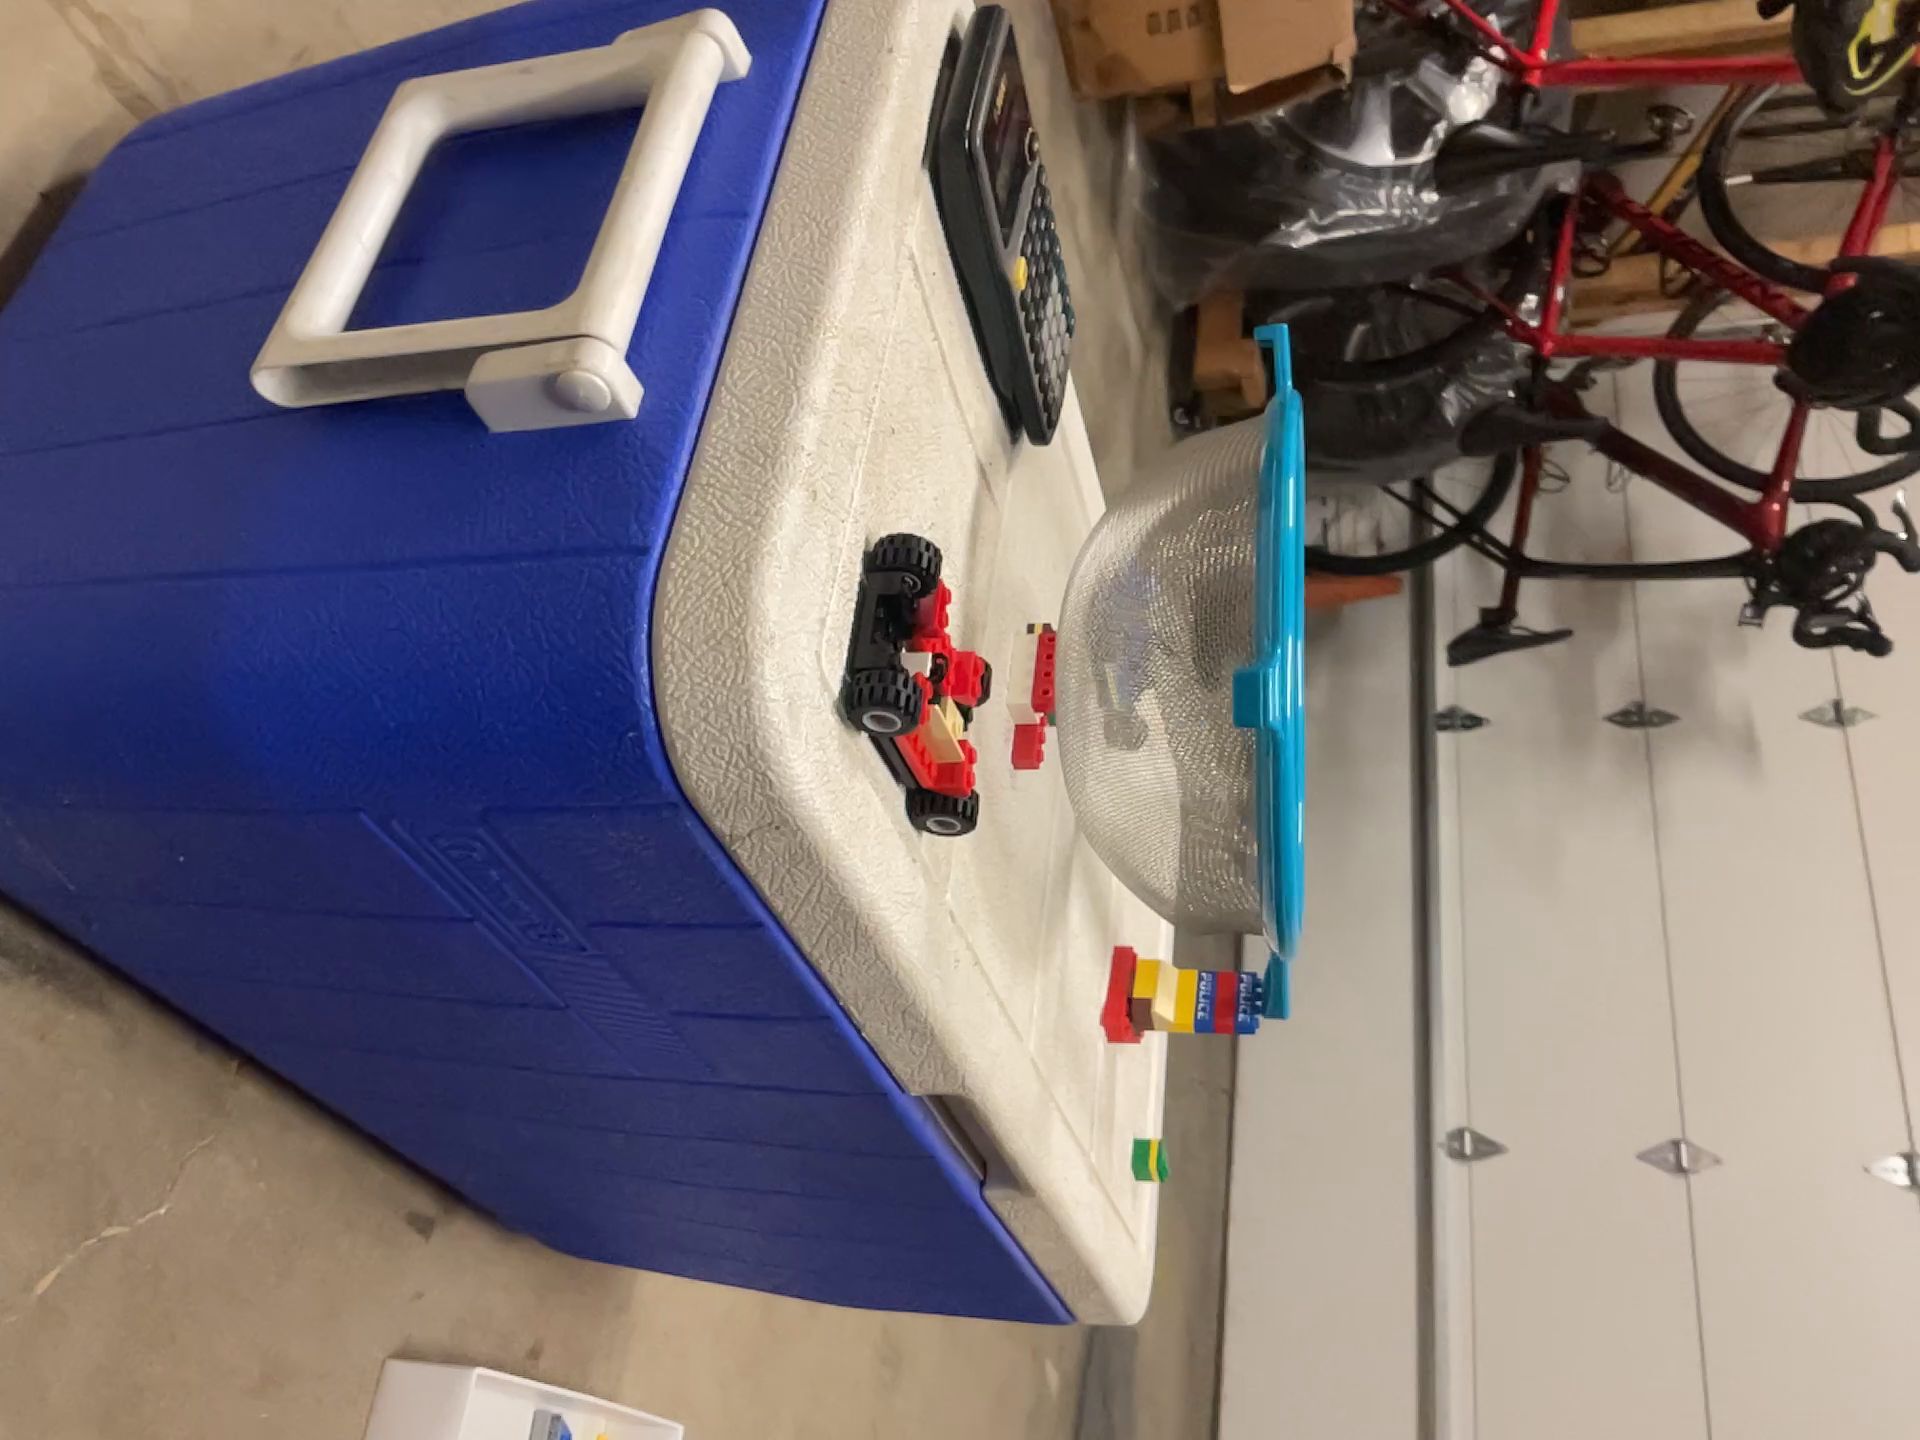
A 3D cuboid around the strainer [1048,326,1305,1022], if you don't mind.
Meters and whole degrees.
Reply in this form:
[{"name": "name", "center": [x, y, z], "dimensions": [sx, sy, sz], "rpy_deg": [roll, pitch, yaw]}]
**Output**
[{"name": "strainer", "center": [0.092, 0.026, 0.651], "dimensions": [0.339, 0.095, 0.211], "rpy_deg": [78, 17, -48]}]
